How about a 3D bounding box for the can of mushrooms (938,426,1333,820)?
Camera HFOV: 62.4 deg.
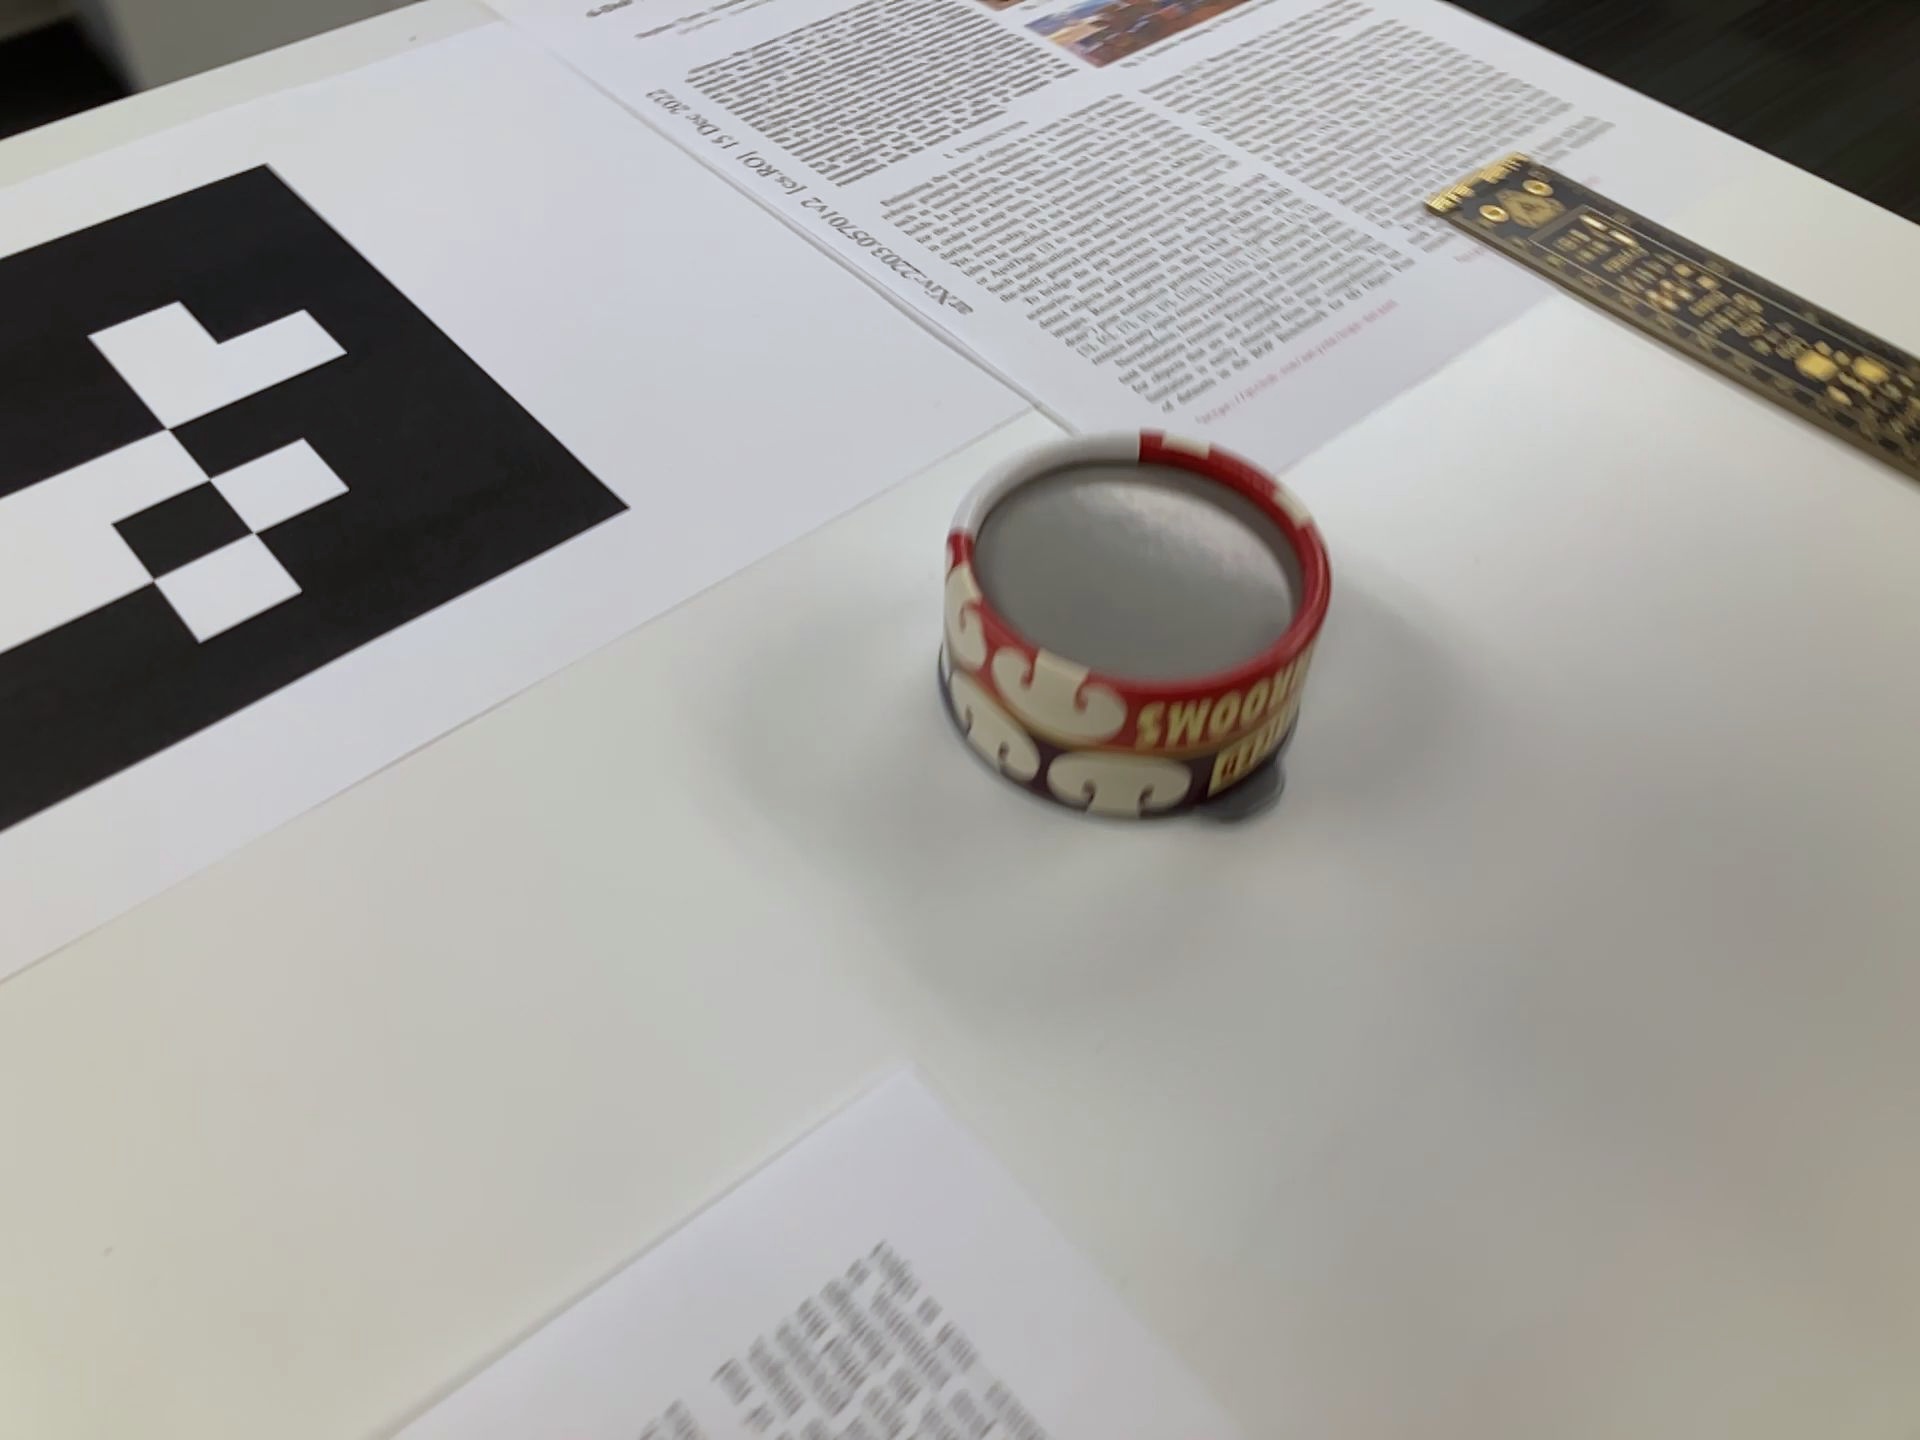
[{"bbox_3d":[0.031,-0.017,0.277,0.071,0.033,0.071,2,50,-2],"label":"can of mushrooms"}]
